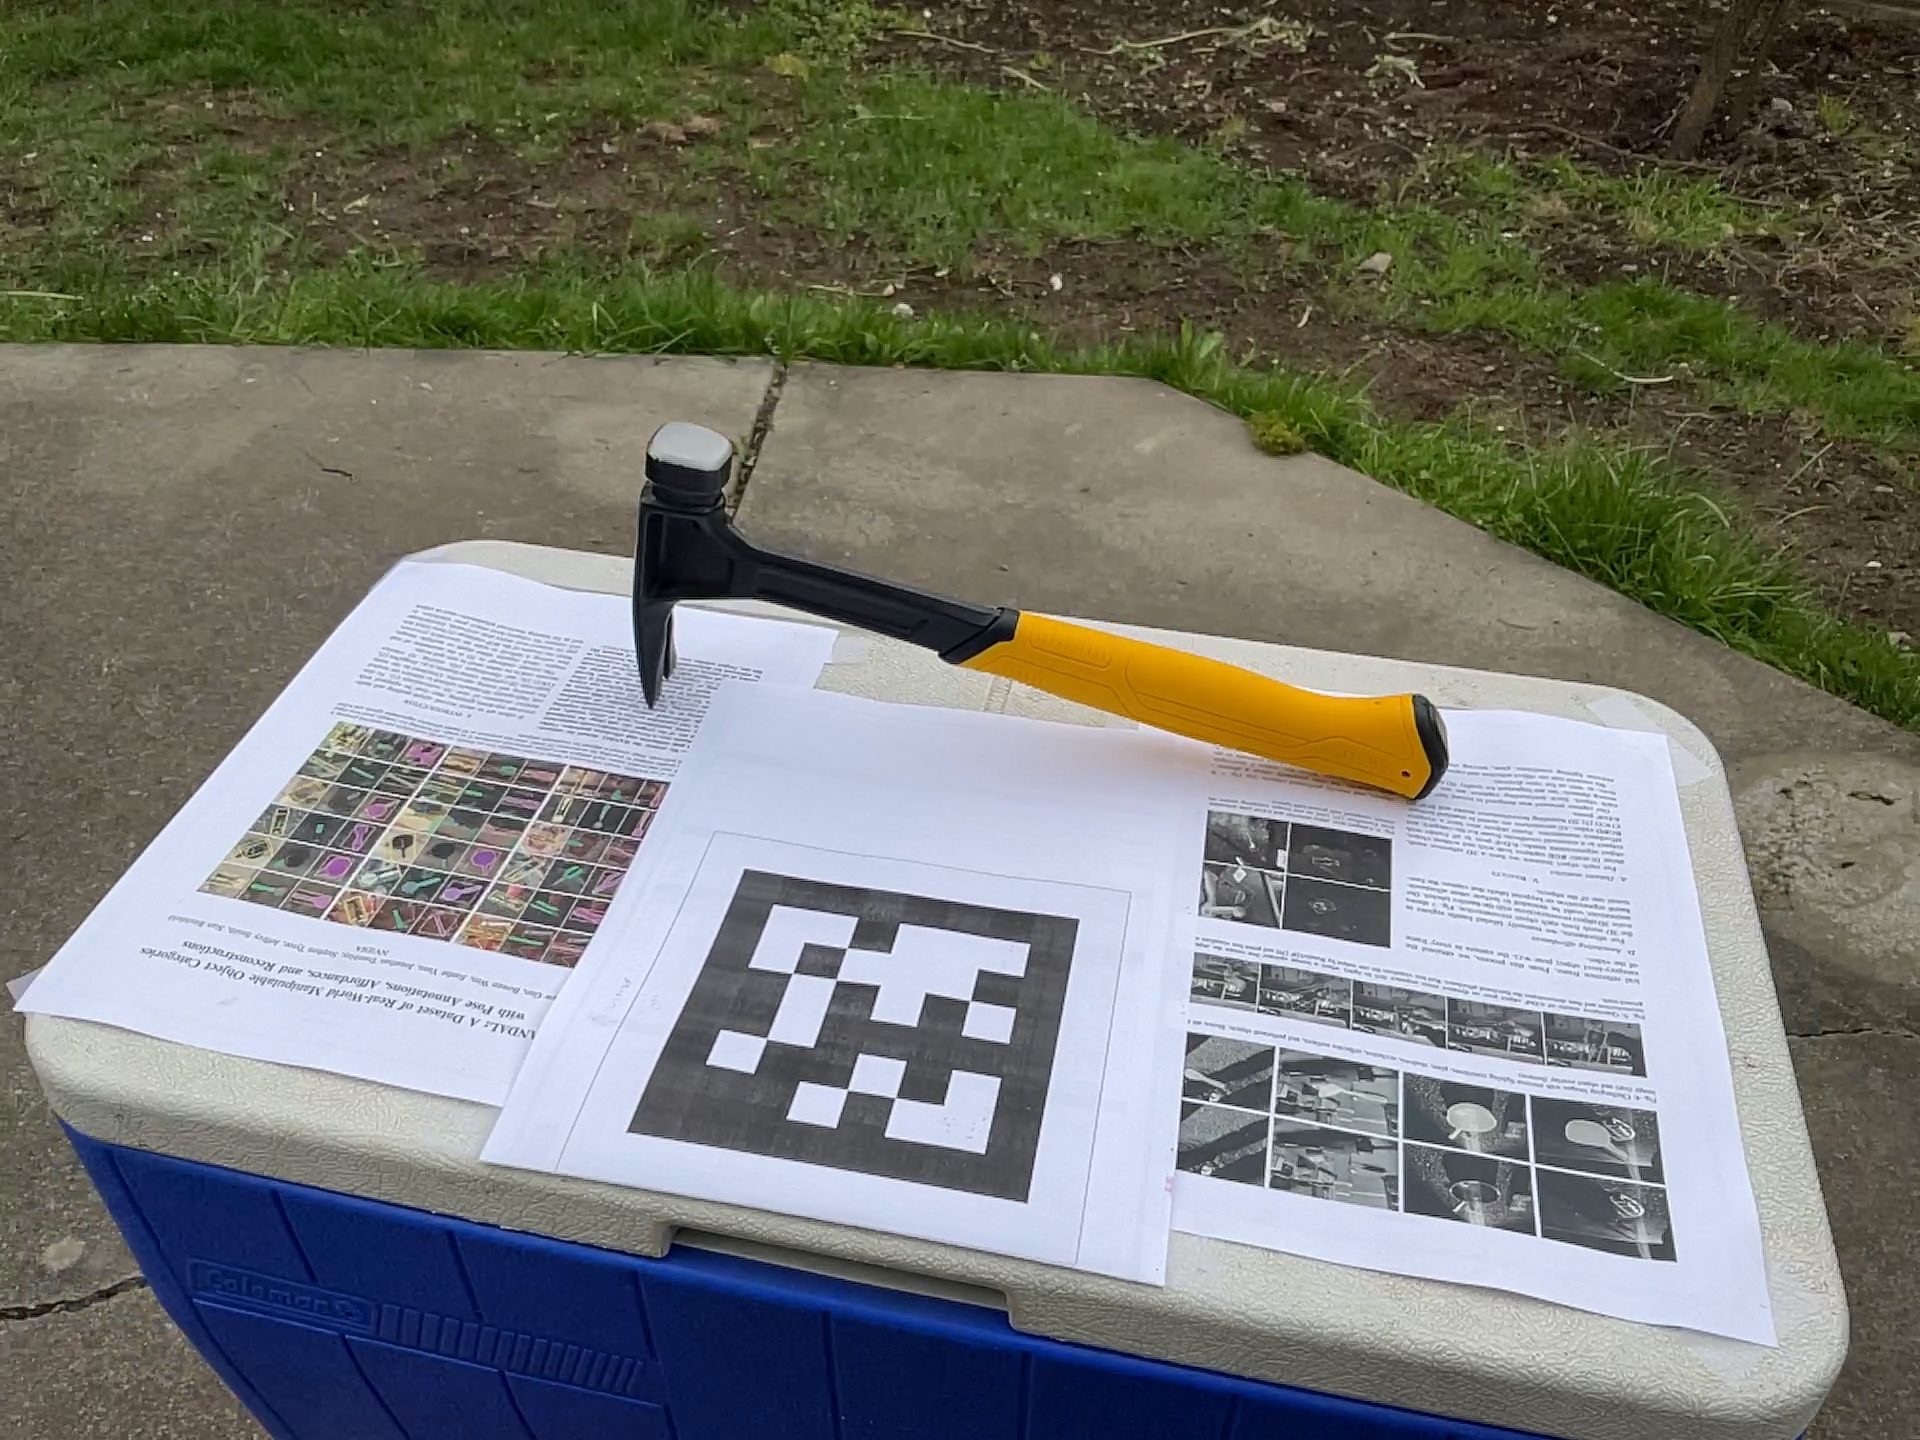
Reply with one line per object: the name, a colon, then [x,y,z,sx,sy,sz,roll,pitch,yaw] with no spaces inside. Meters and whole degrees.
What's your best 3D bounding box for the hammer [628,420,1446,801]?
hammer: [0.029,-0.022,0.652,0.337,0.127,0.034,15,40,2]
